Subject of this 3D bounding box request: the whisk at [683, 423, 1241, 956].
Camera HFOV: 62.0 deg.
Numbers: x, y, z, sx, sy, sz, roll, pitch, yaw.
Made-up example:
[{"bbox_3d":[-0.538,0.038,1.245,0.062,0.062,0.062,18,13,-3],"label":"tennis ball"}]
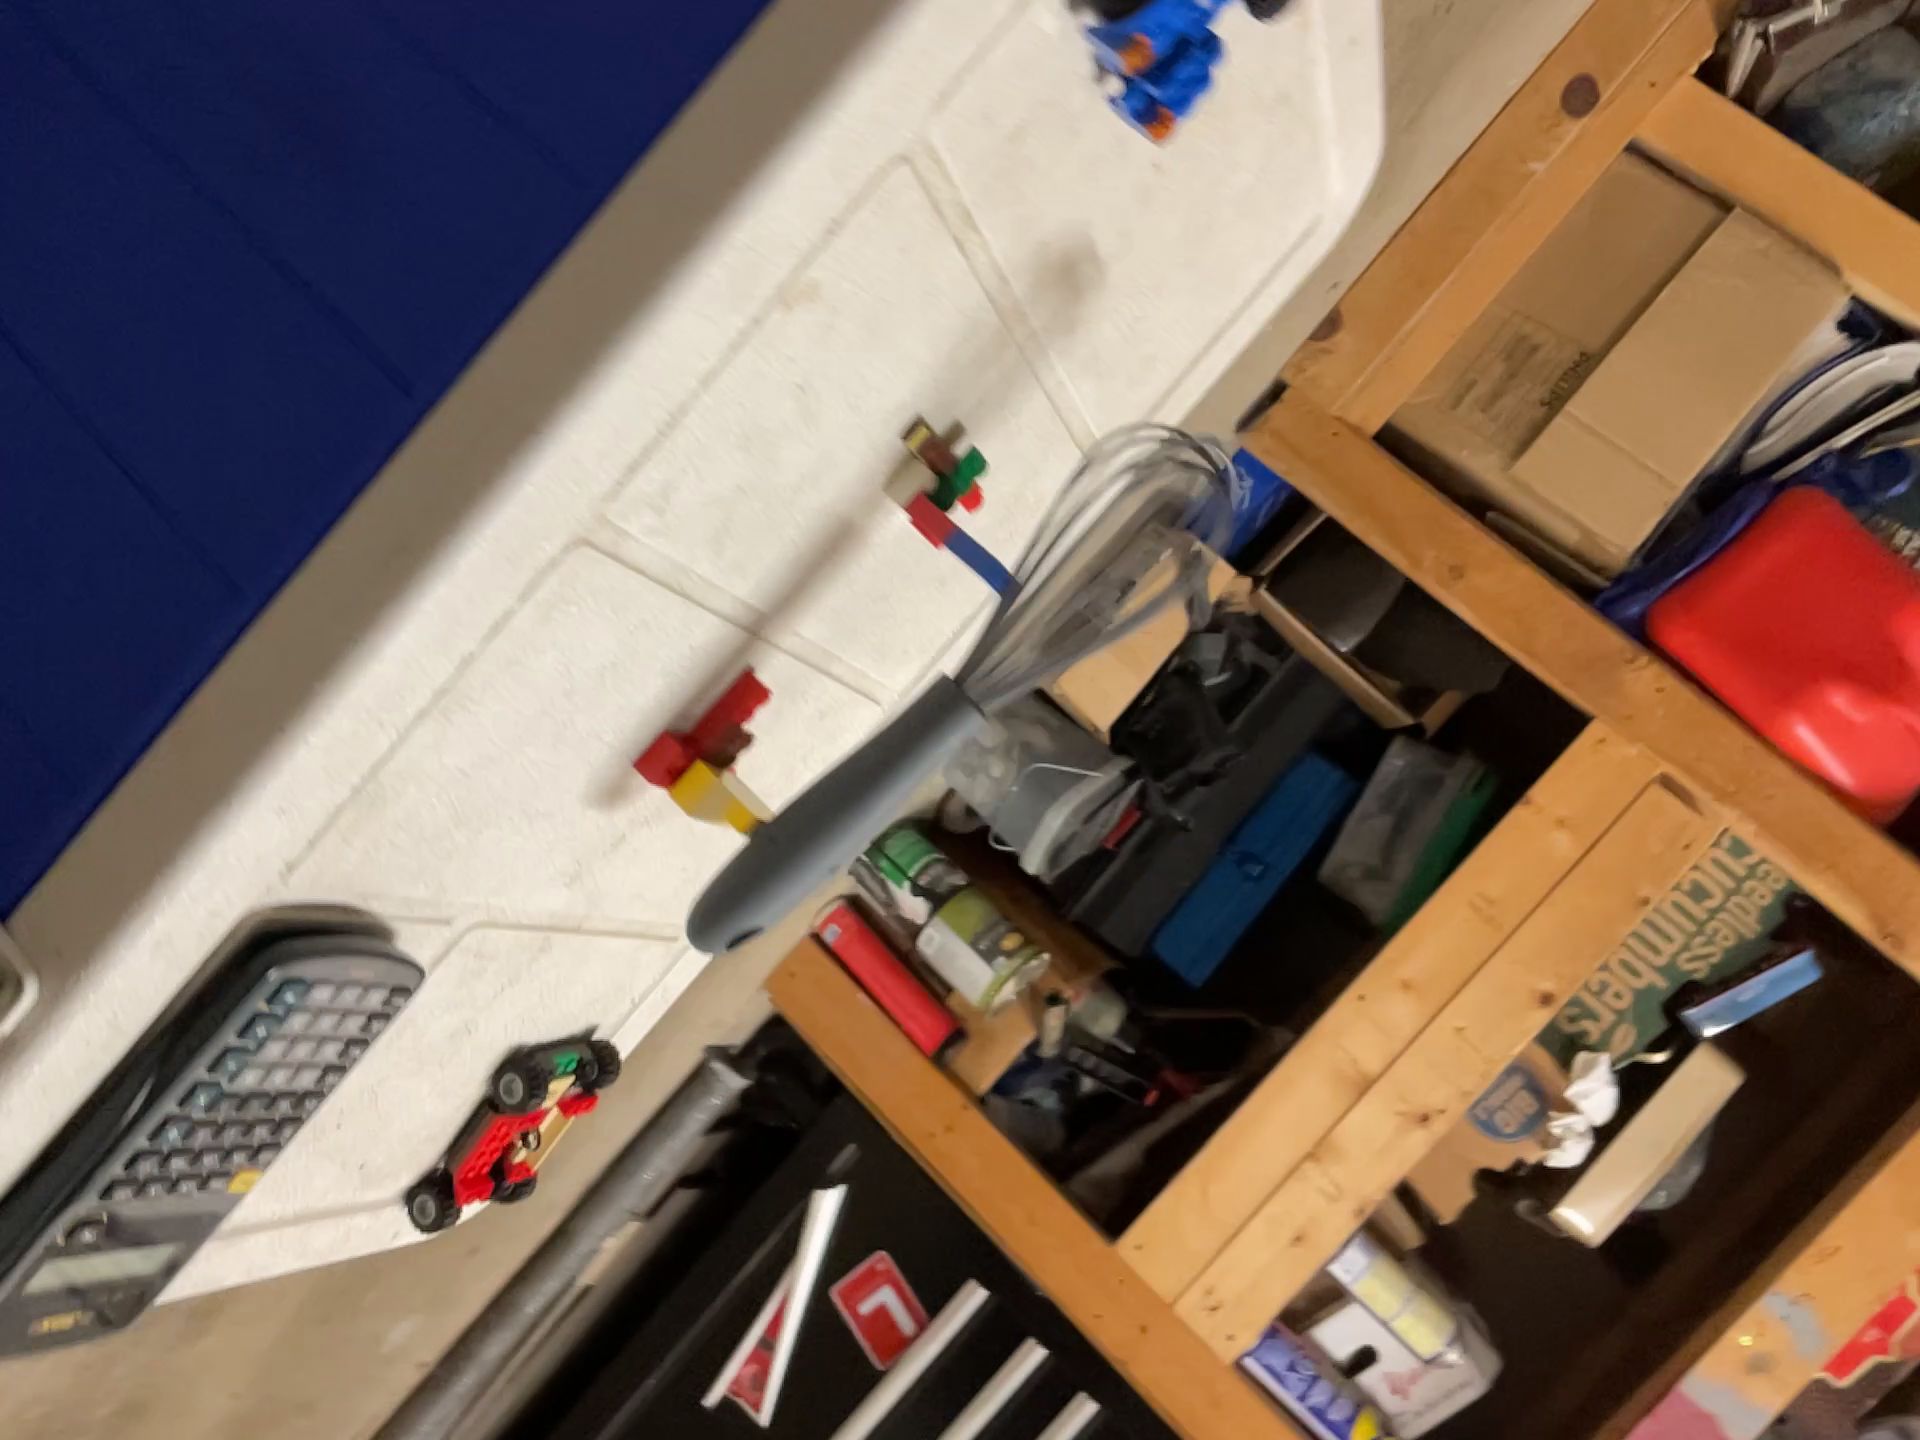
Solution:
[{"bbox_3d":[-0.002,-0.008,0.519,0.239,0.055,0.055,-43,160,1],"label":"whisk"}]
